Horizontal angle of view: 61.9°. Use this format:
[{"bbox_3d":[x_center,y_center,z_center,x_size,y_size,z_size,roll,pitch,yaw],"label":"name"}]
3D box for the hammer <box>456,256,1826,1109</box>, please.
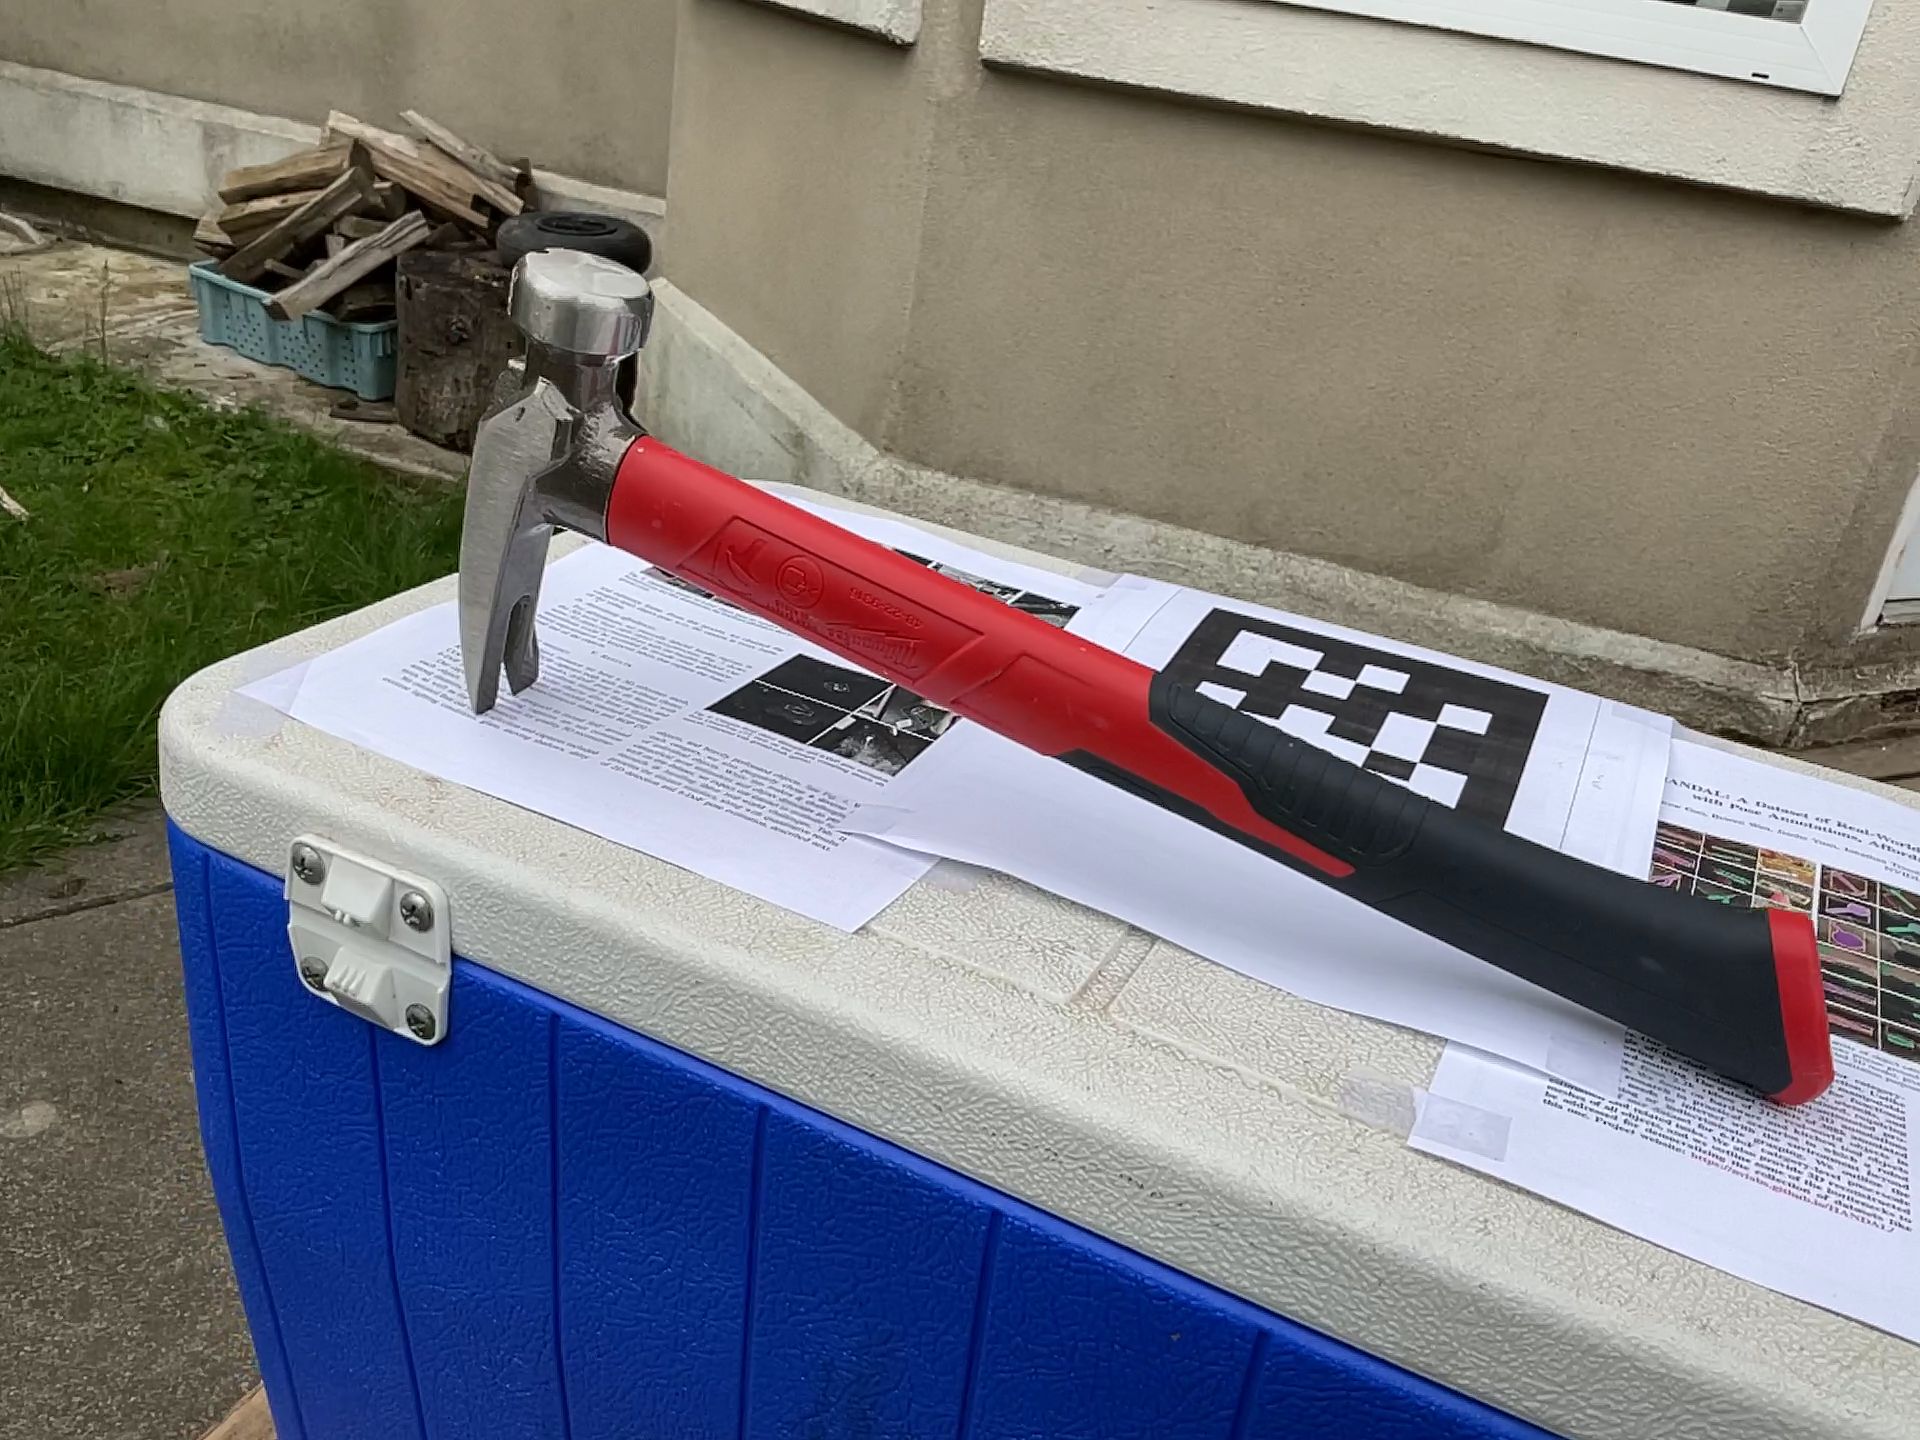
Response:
[{"bbox_3d":[0.033,0.012,0.434,0.386,0.143,0.038,26,30,11],"label":"hammer"}]
